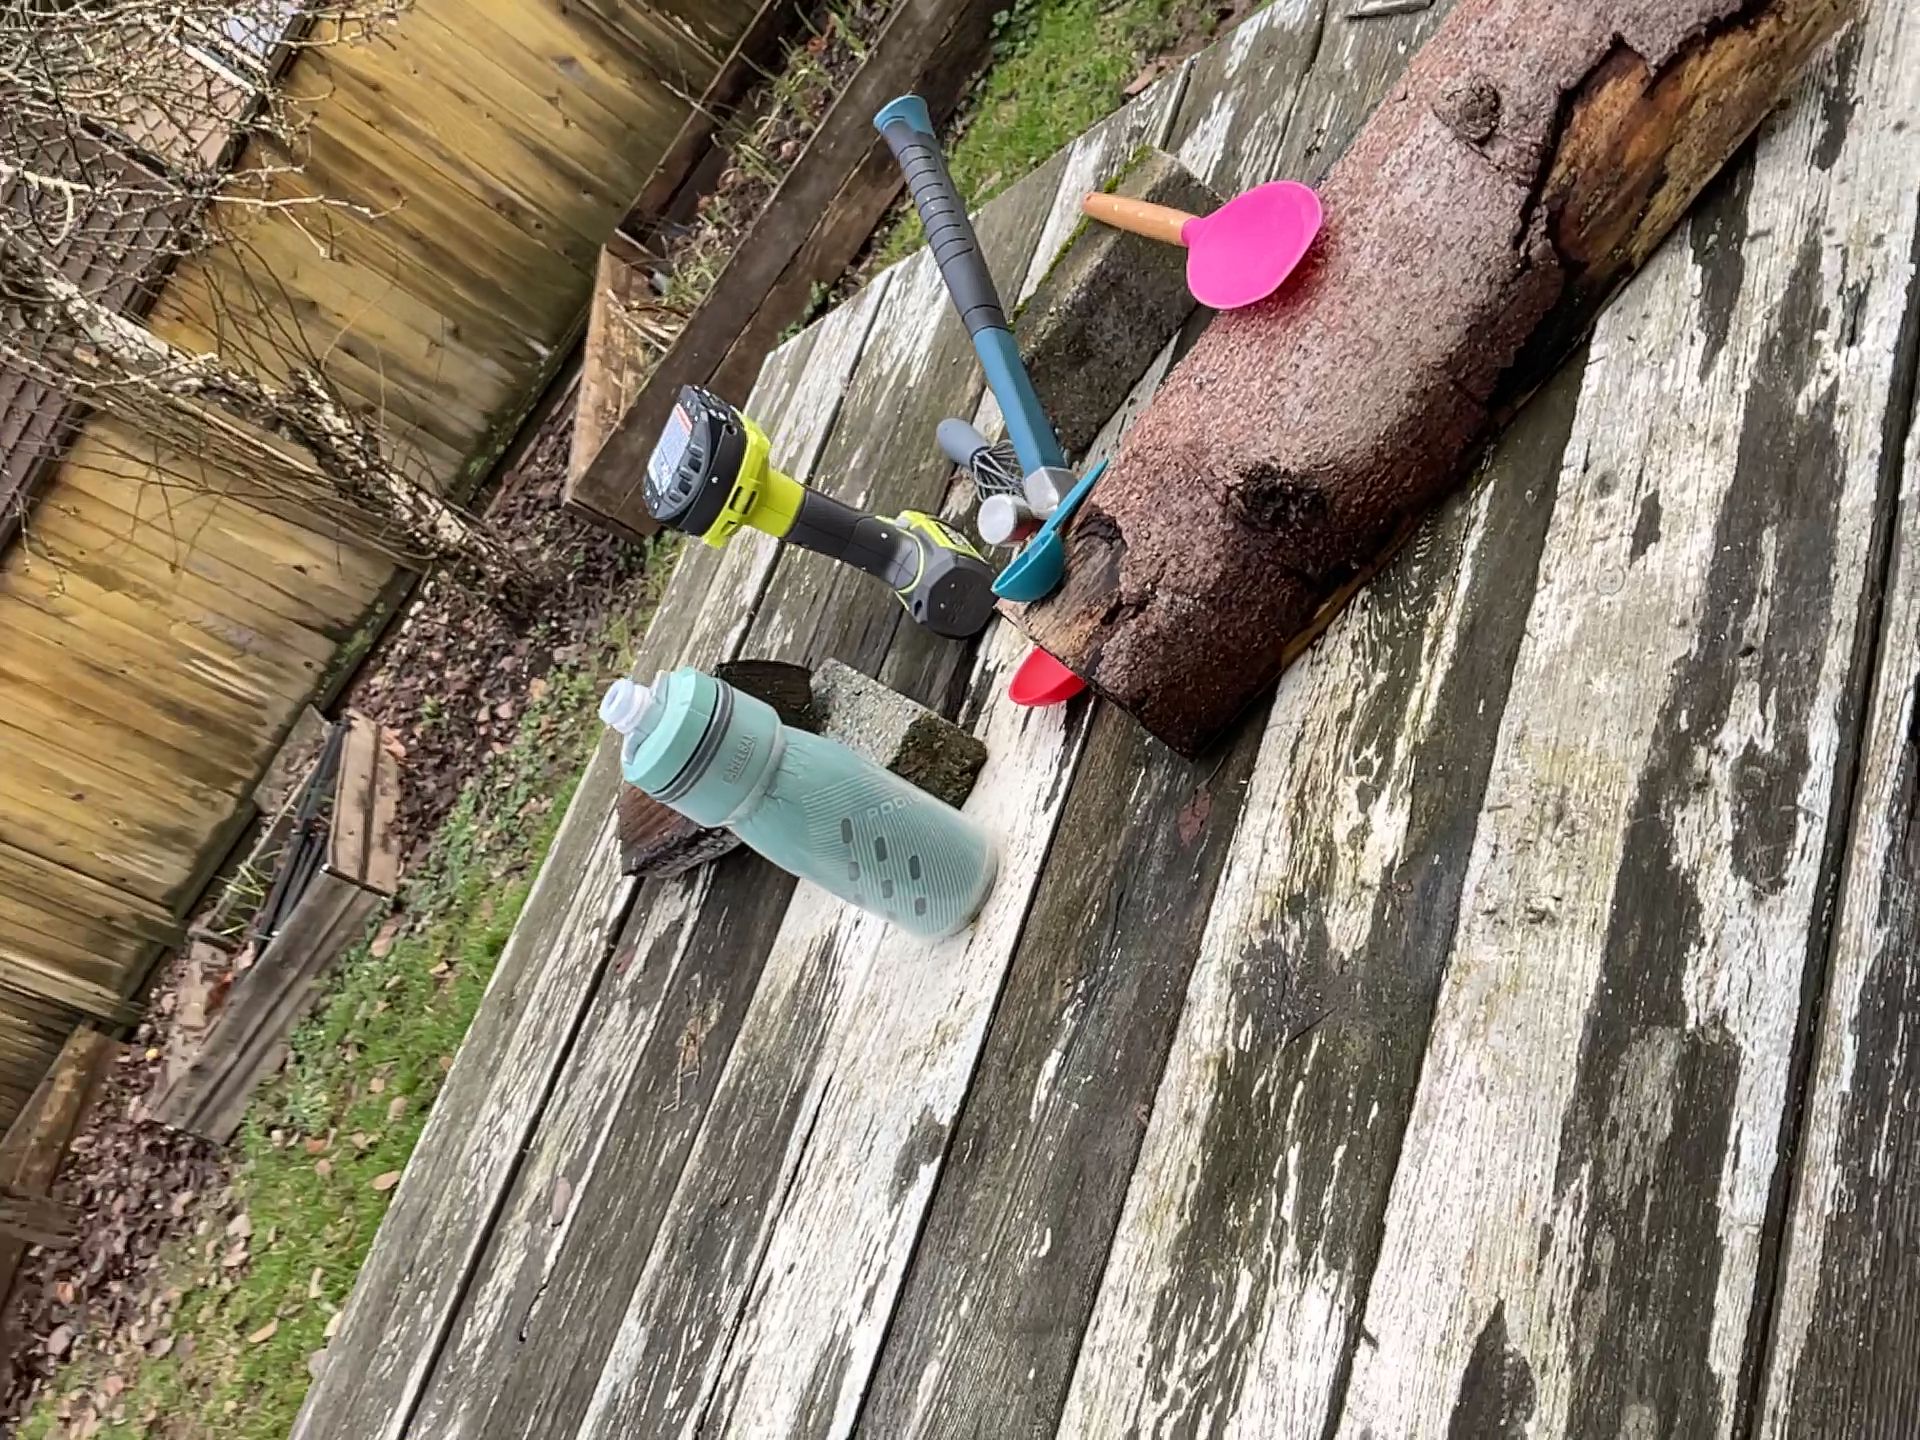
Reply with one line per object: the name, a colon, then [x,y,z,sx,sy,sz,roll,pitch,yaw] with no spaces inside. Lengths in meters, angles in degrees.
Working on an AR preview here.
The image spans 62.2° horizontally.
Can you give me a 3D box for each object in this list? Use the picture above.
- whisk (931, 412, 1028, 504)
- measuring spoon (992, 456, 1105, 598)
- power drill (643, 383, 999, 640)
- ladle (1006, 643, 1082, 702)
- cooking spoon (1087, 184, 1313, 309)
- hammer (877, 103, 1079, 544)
whisk: [0.014,-0.189,1.121,0.055,0.055,0.239,-48,25,5]
measuring spoon: [0.055,-0.099,0.822,0.042,0.021,0.128,-33,15,43]
power drill: [-0.092,-0.138,1.069,0.080,0.223,0.171,-61,24,13]
ladle: [0.120,-0.141,0.925,0.315,0.031,0.069,-60,24,-6]
cooking spoon: [0.120,-0.269,0.875,0.069,0.017,0.319,-55,23,11]
hammer: [0.015,-0.251,0.996,0.033,0.128,0.331,-34,68,37]
